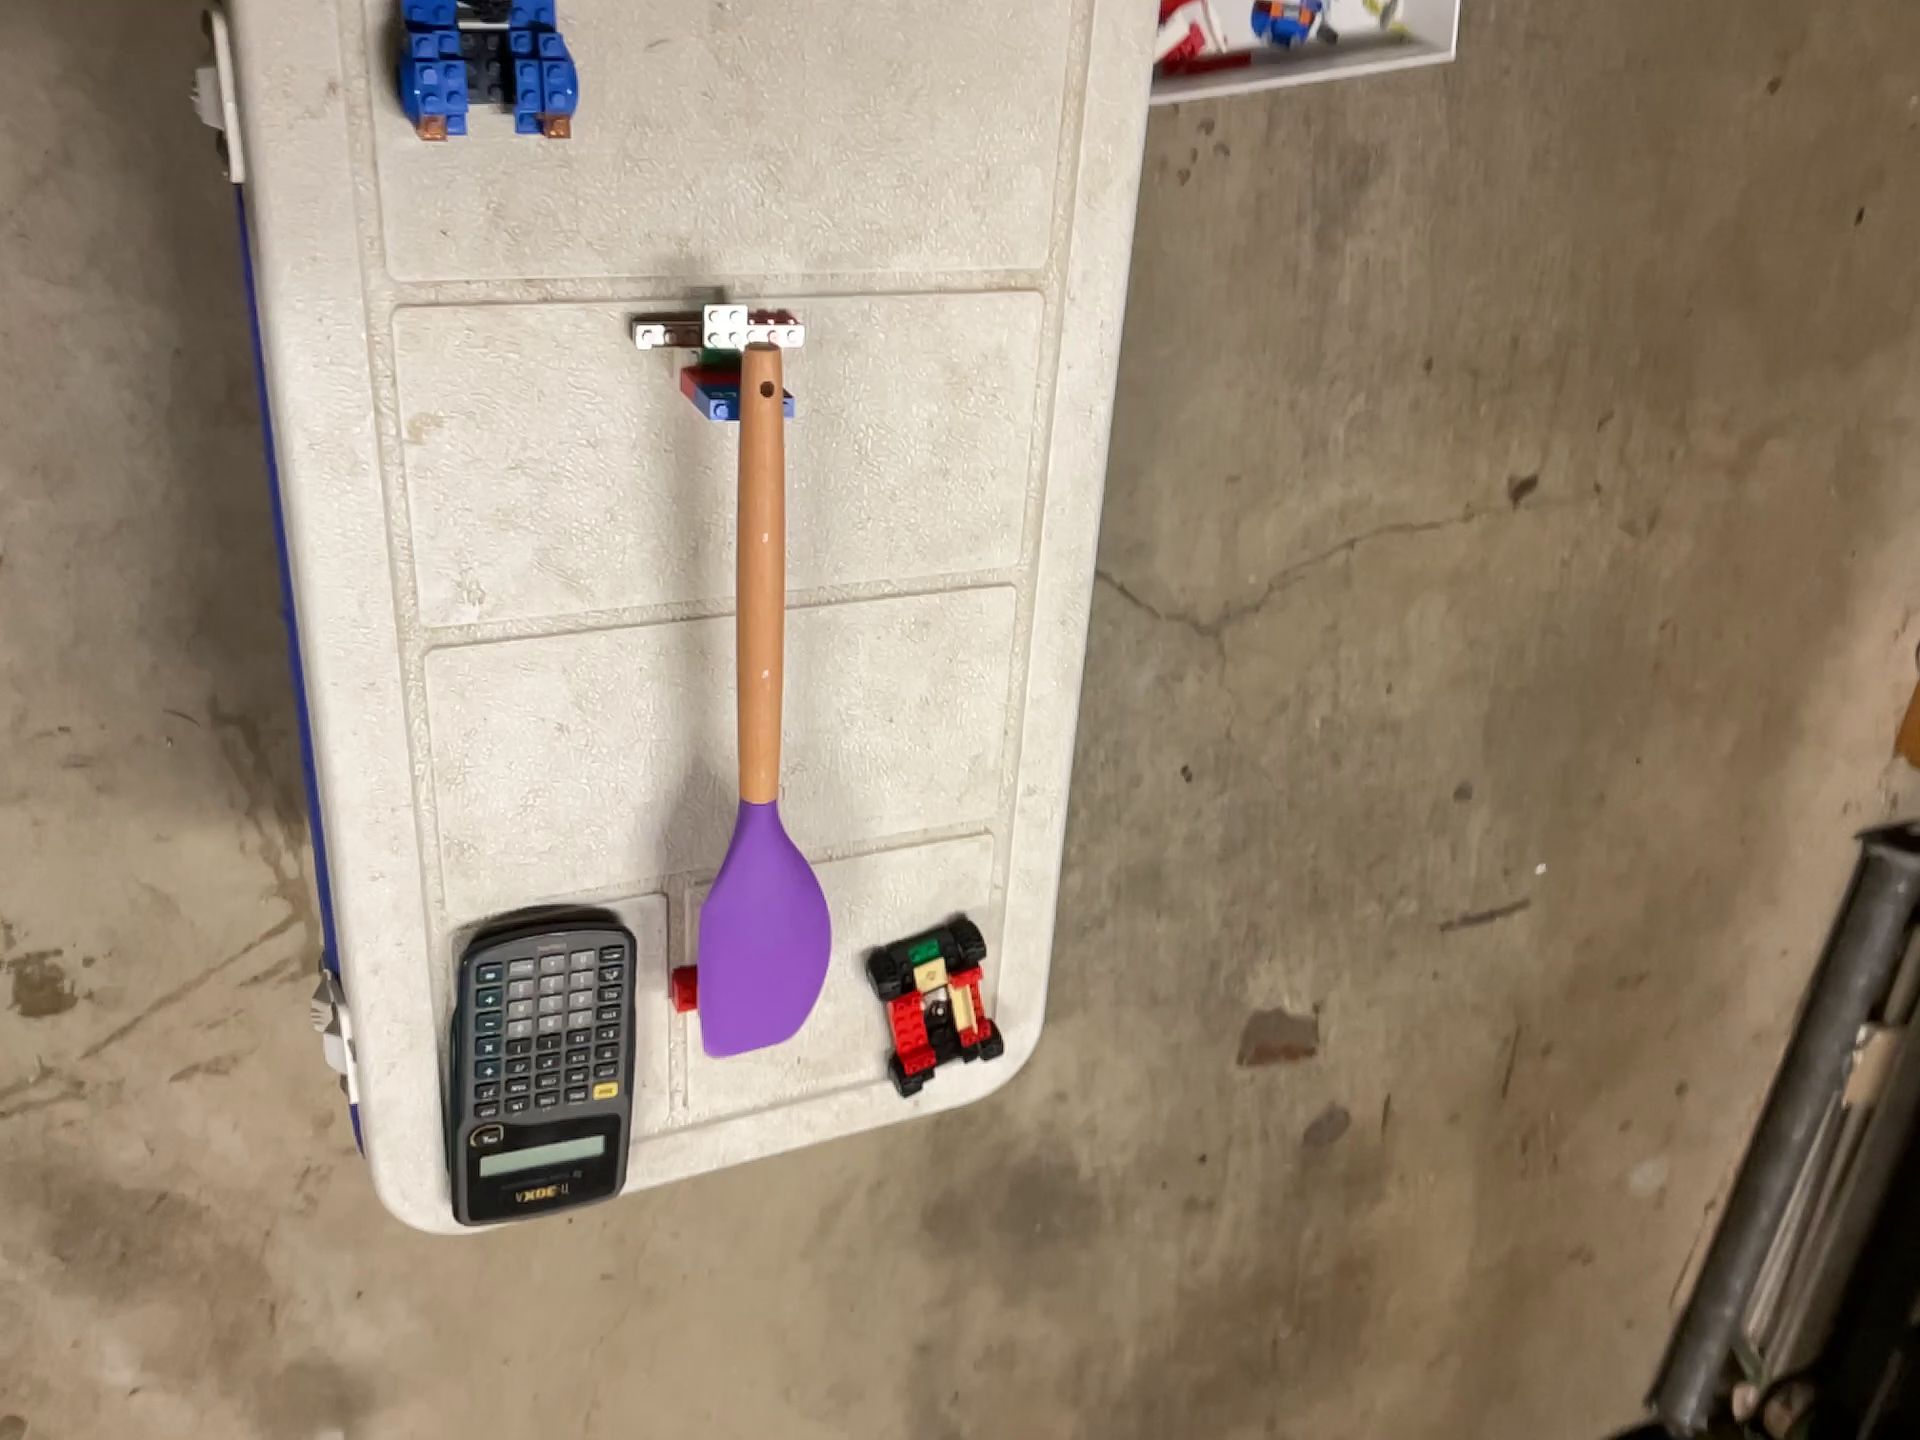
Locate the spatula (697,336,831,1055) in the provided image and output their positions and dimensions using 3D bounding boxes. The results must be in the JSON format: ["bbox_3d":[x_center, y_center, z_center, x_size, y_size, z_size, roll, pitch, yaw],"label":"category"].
[{"bbox_3d":[-0.077,0.006,0.627,0.060,0.018,0.315,-10,122,-23],"label":"spatula"}]
